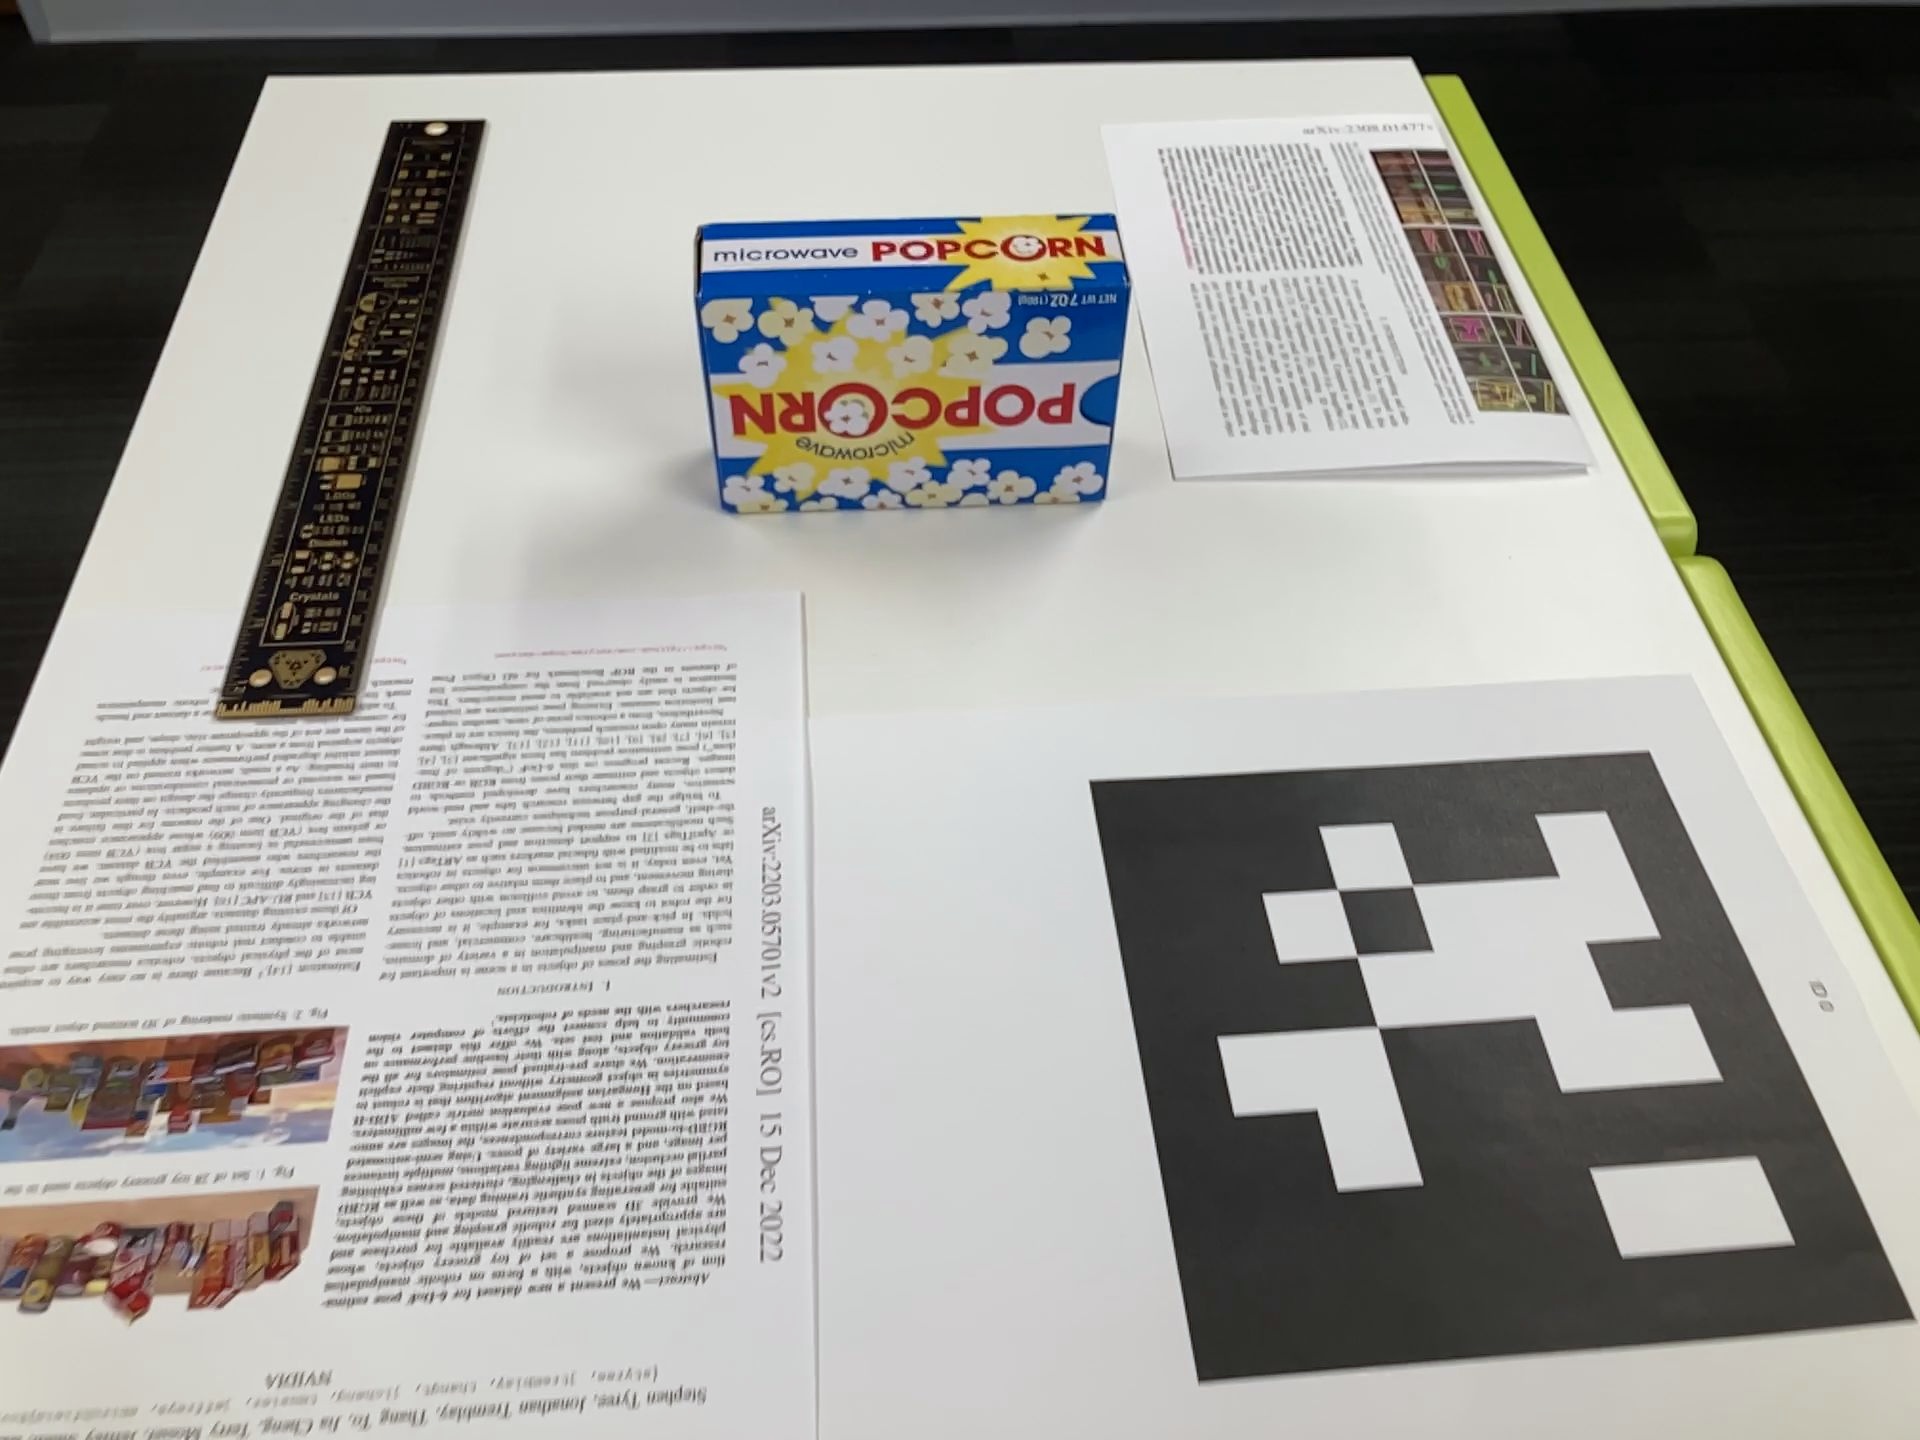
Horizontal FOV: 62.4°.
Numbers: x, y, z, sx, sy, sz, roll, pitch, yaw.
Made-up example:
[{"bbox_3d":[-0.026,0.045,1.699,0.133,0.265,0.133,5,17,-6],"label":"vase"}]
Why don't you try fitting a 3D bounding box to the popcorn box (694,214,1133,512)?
[{"bbox_3d":[-0.015,-0.109,0.494,0.126,0.085,0.038,-3,49,-4],"label":"popcorn box"}]
